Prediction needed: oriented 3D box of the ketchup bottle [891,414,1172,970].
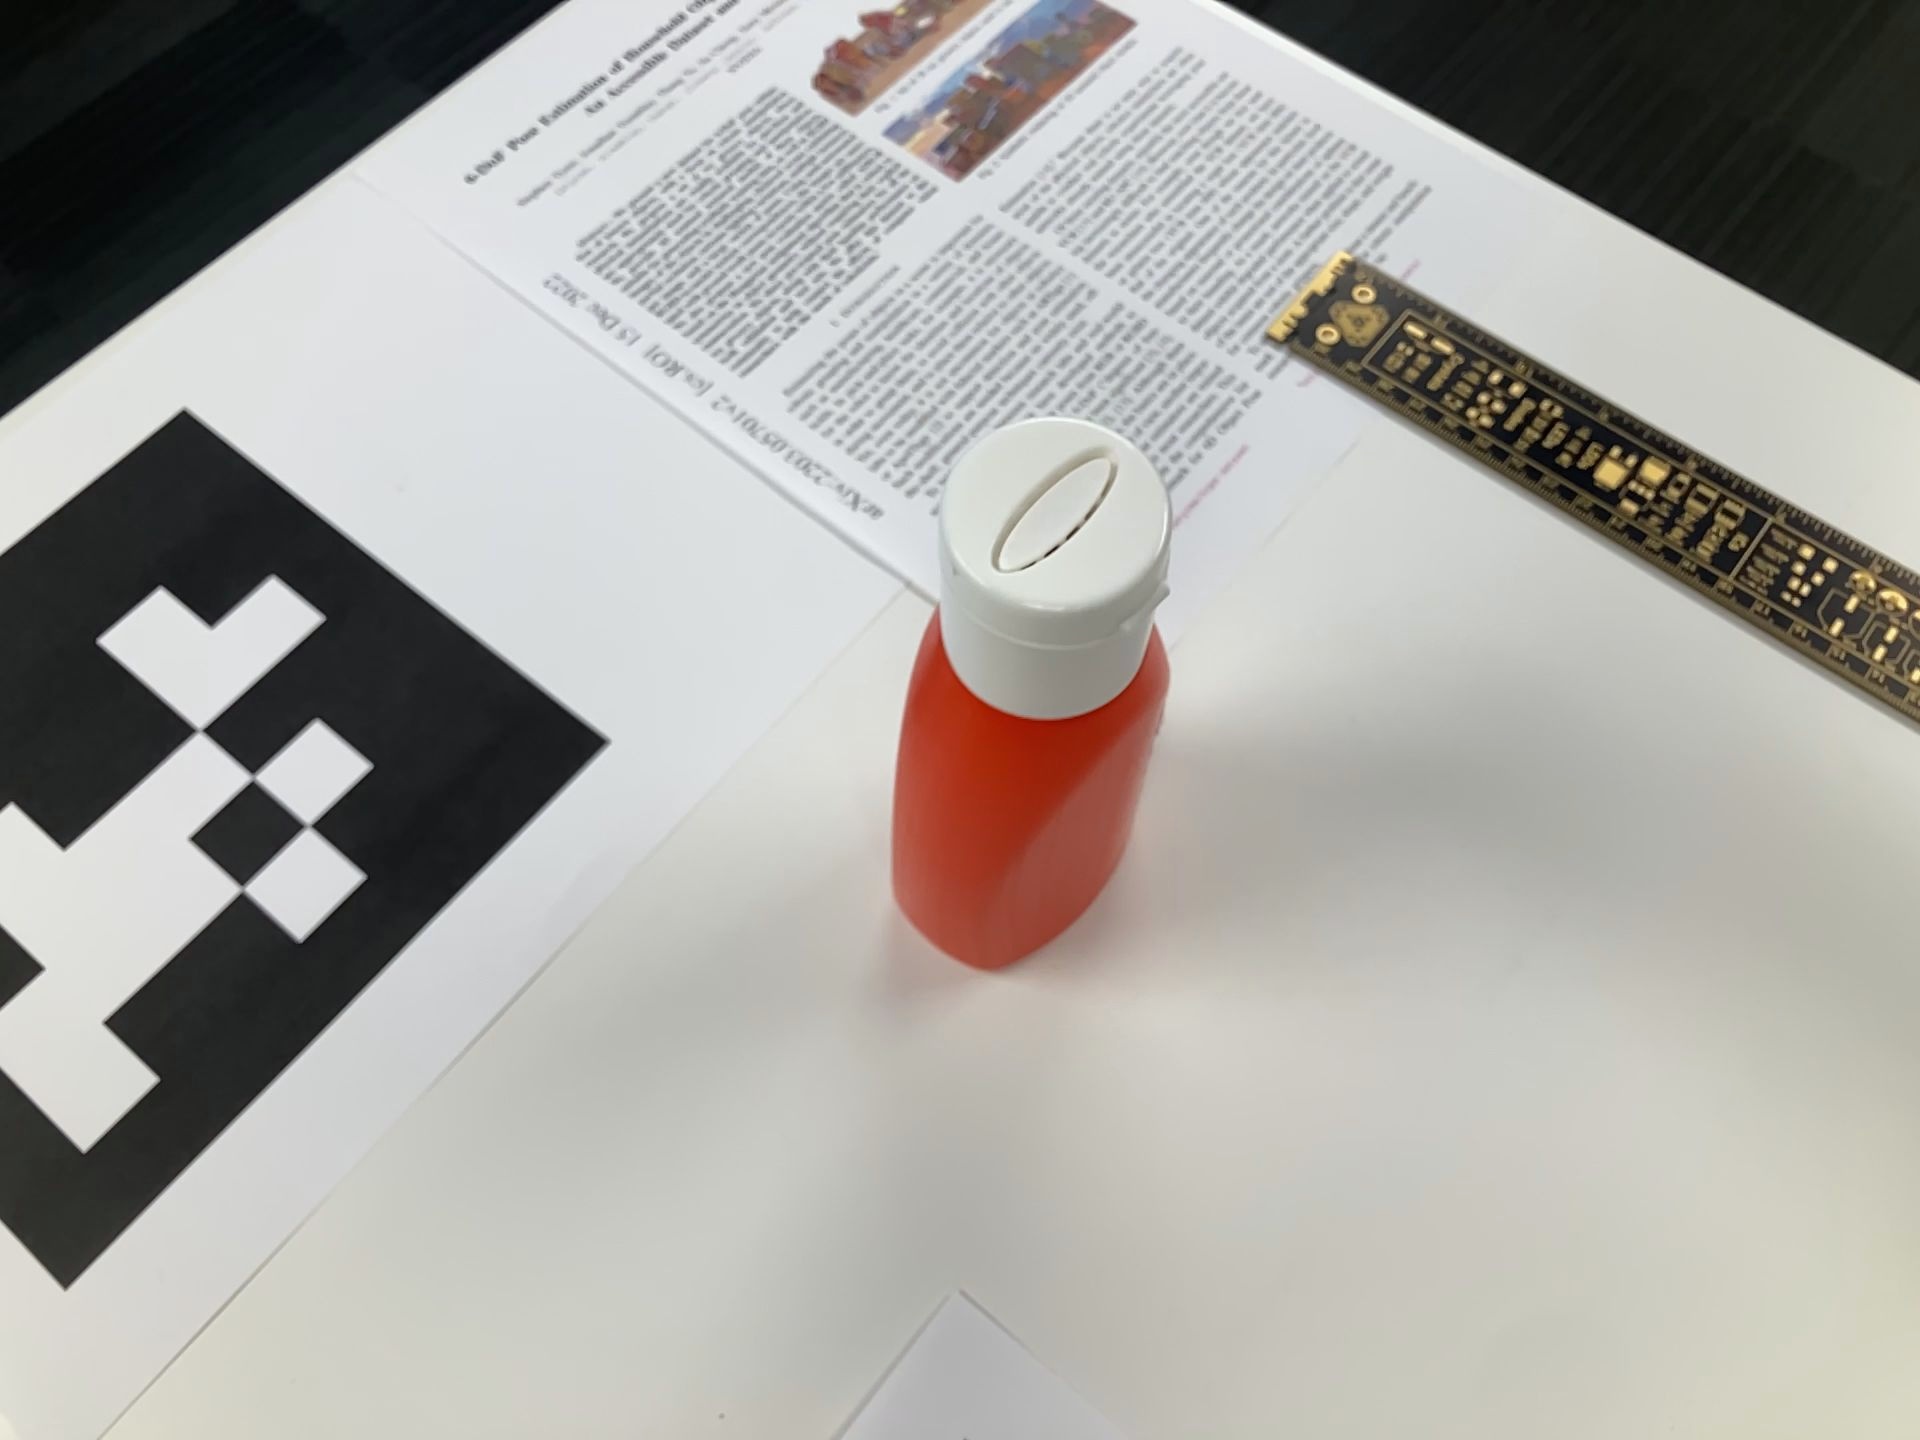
[{"bbox_3d":[0.014,0.000,0.310,0.043,0.149,0.065,38,70,16],"label":"ketchup bottle"}]
